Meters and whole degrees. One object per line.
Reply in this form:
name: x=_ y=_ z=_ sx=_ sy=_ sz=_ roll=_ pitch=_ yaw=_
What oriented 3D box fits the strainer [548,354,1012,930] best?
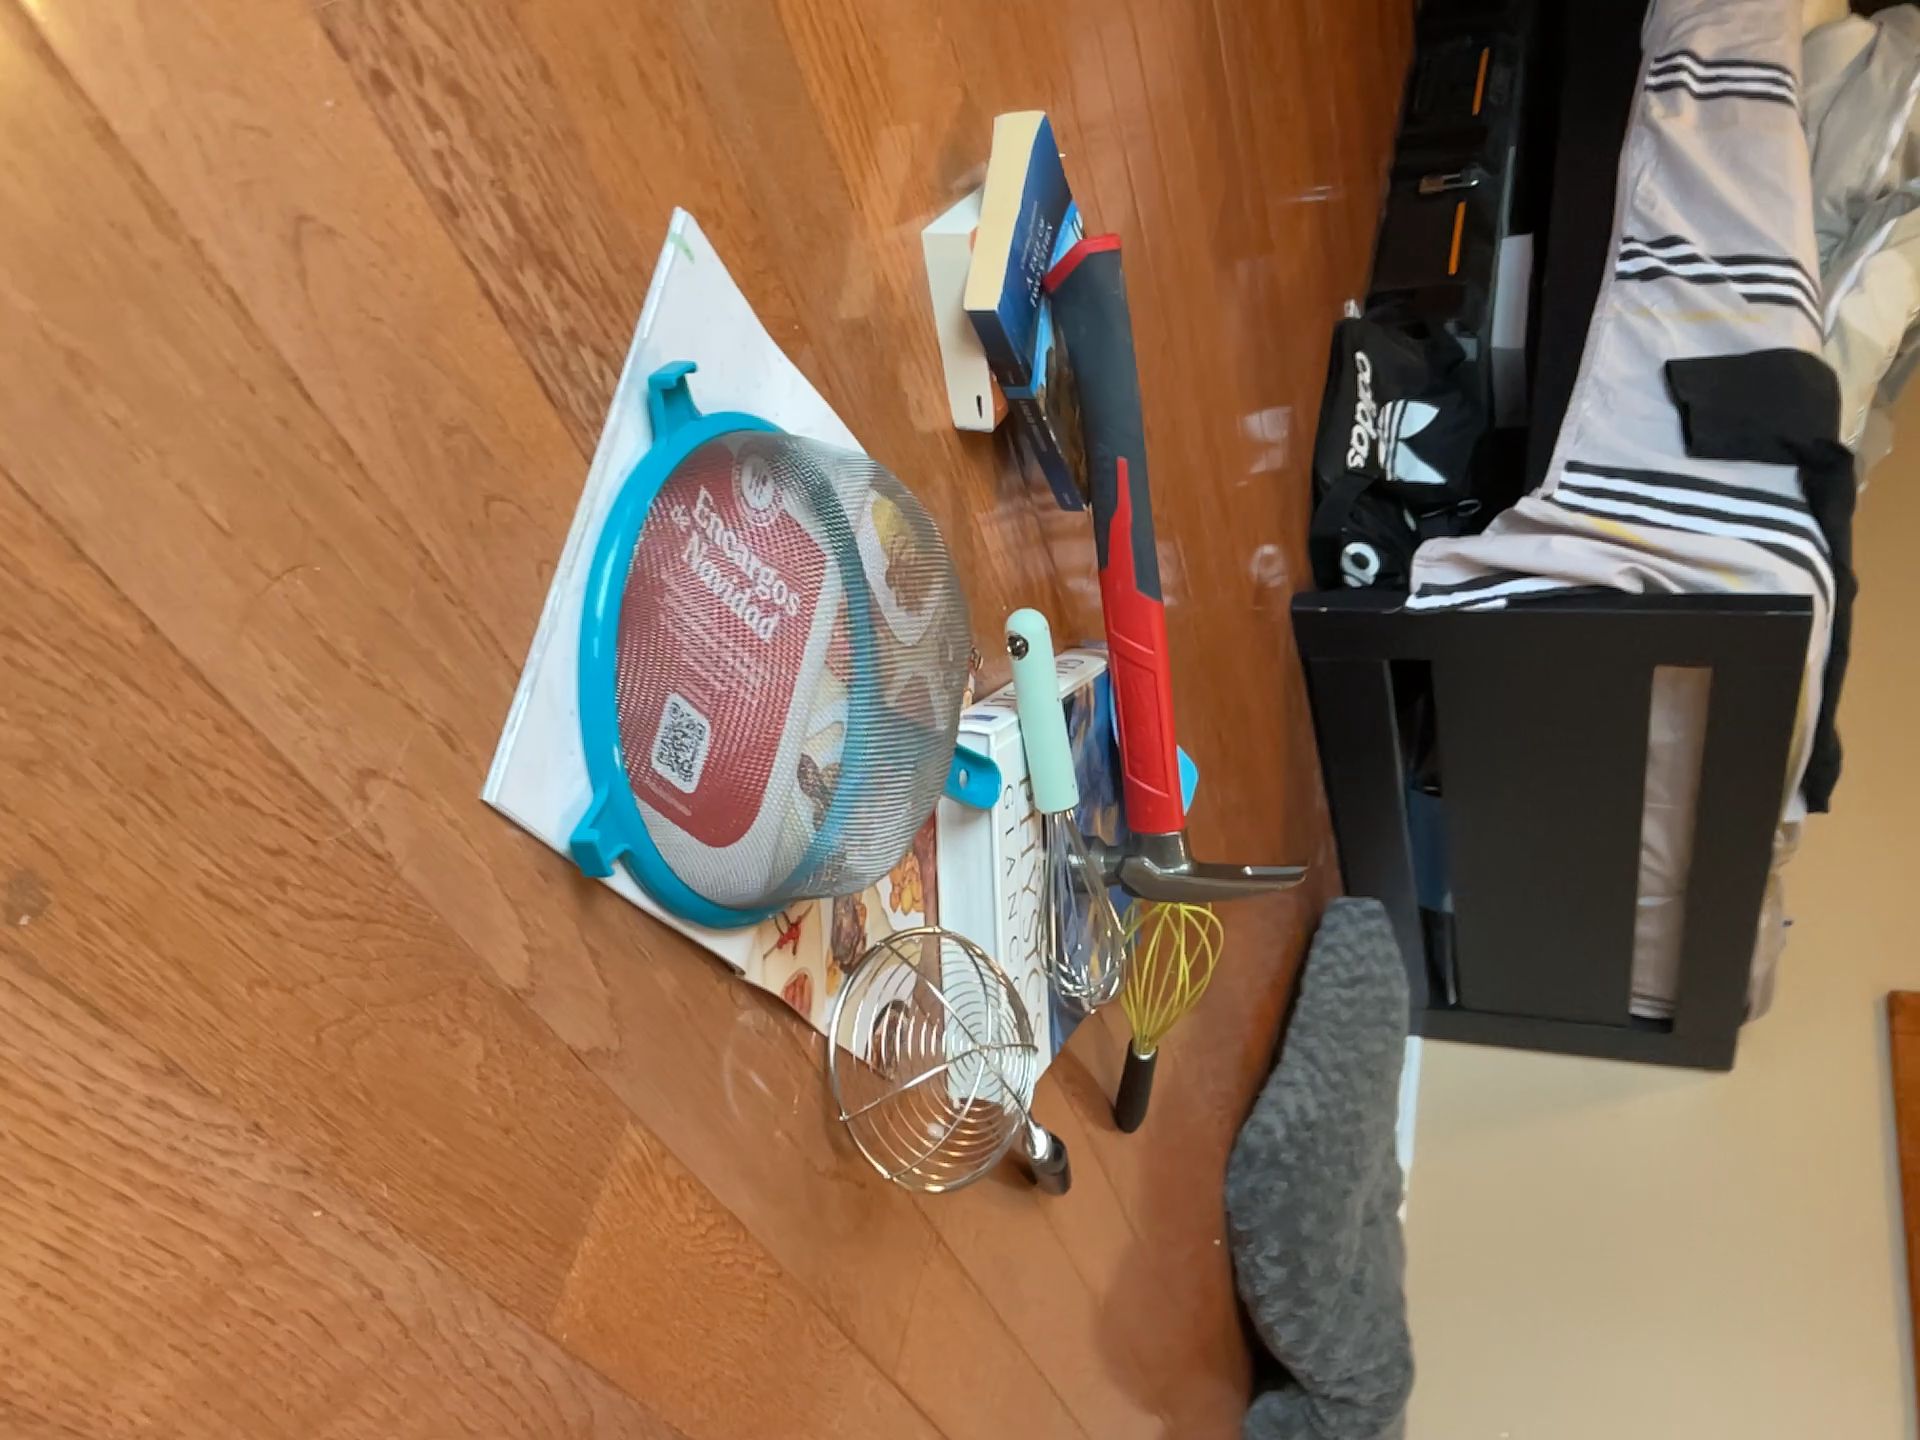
strainer: x=-0.026 y=-0.006 z=0.683 sx=0.340 sy=0.095 sz=0.211 roll=28 pitch=65 yaw=-59

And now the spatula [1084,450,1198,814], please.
spatula: x=0.108 y=-0.080 z=1.004 sx=0.082 sy=0.044 sz=0.317 roll=-52 pitch=139 yaw=-53

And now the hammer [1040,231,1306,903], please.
hammer: x=0.111 y=-0.079 z=0.906 sx=0.038 sy=0.143 sz=0.386 roll=-45 pitch=130 yaw=-64

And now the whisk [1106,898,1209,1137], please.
whisk: x=0.132 y=0.218 z=1.128 sx=0.311 sy=0.067 sz=0.080 roll=89 pitch=1 yaw=-48

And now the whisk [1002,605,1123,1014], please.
whisk: x=0.055 y=0.054 z=0.894 sx=0.059 sy=0.057 sz=0.246 roll=-22 pitch=111 yaw=-33

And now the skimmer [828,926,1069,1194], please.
skimmer: x=0.008 y=0.222 z=0.901 sx=0.363 sy=0.090 sz=0.127 roll=72 pitch=25 yaw=-63
